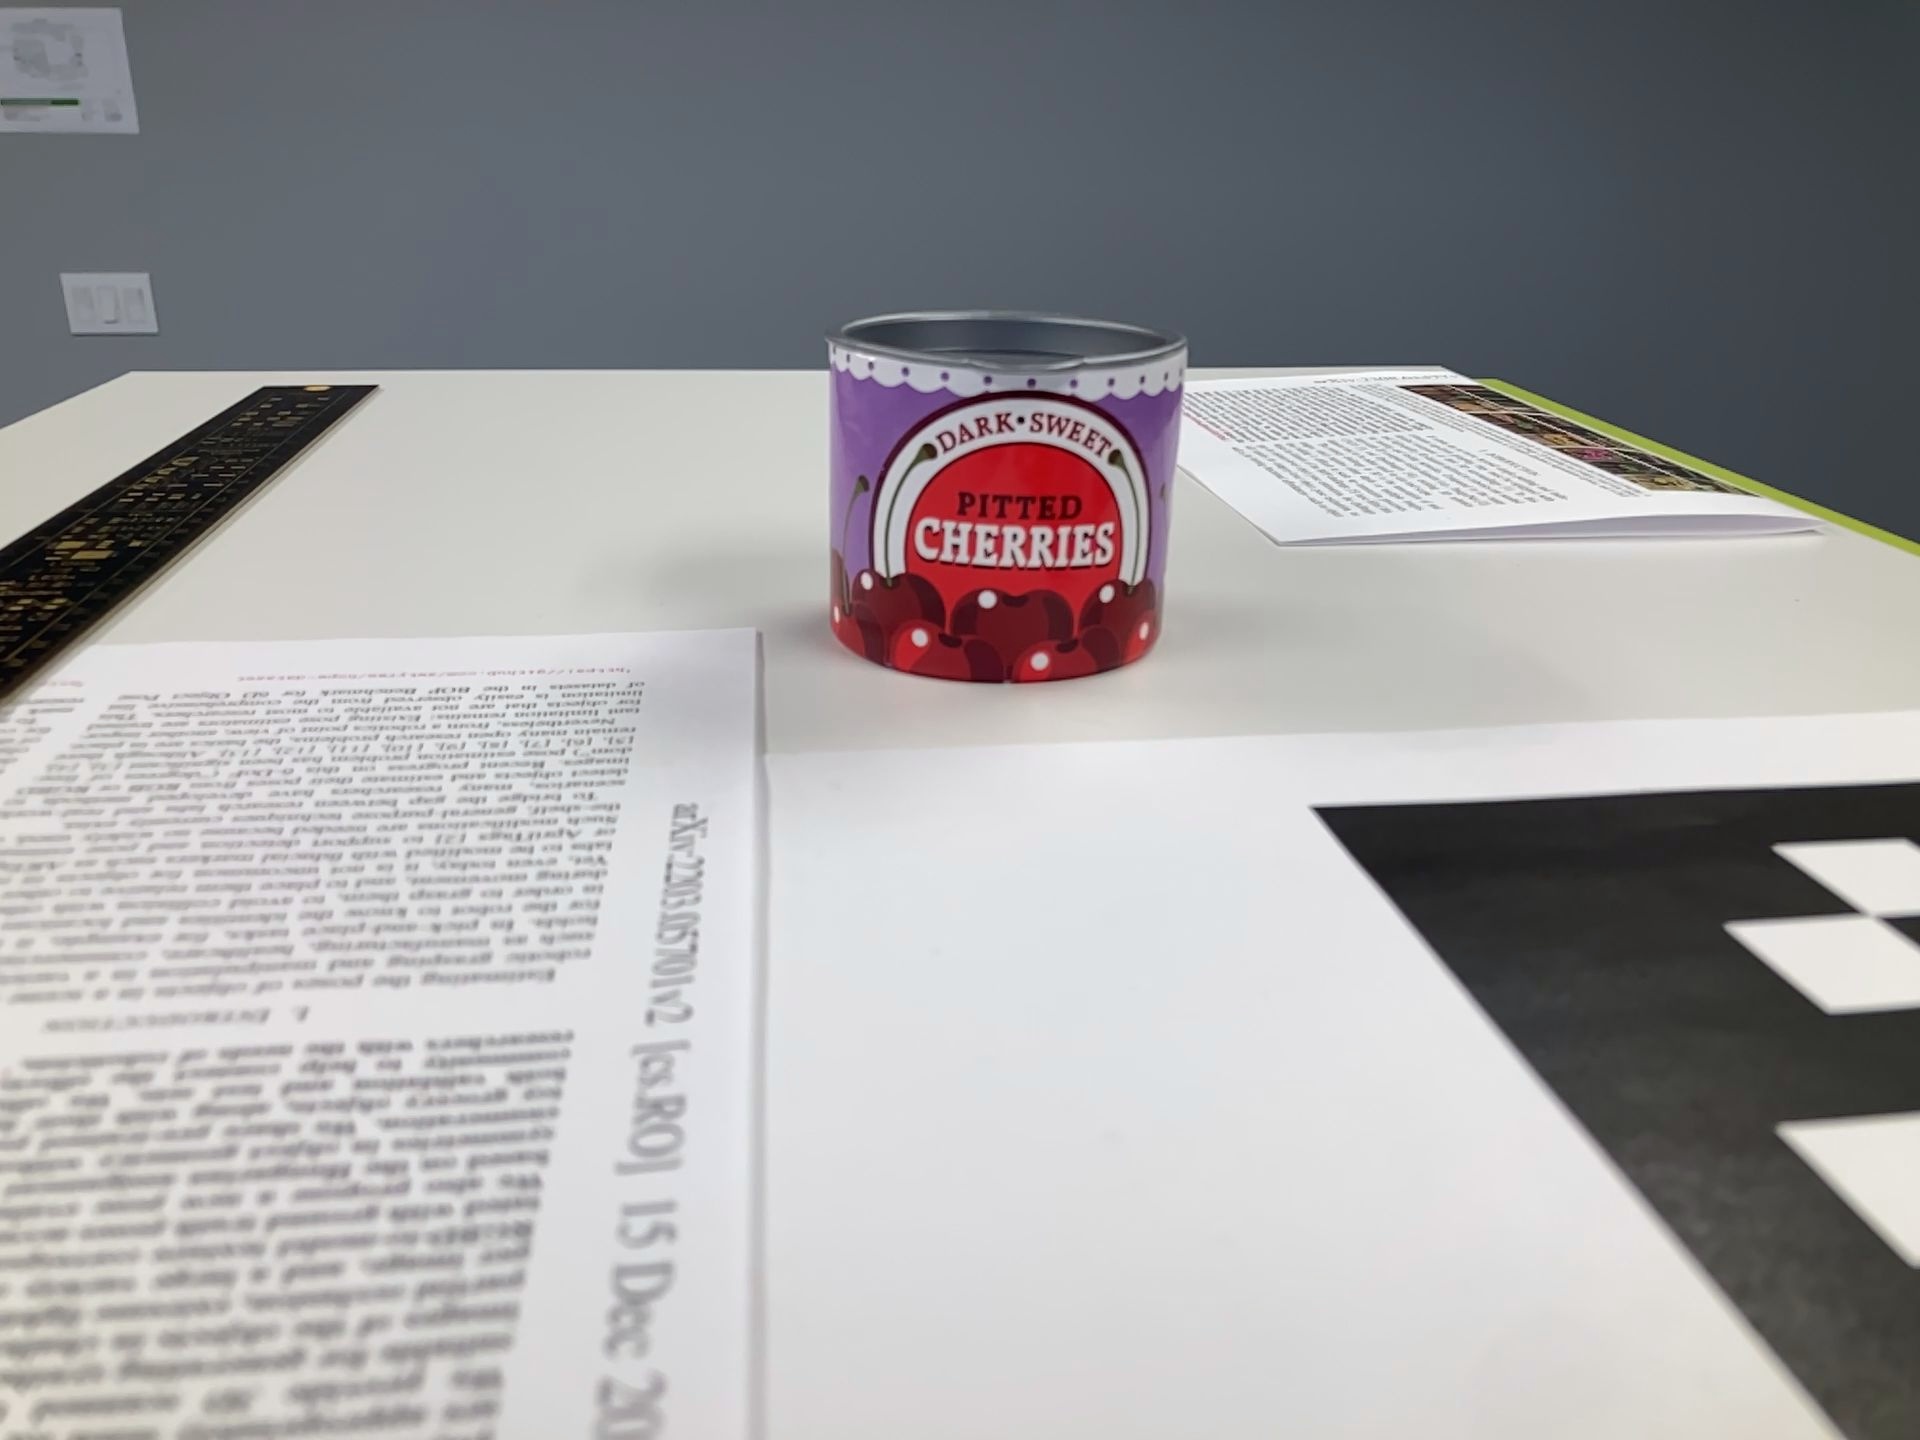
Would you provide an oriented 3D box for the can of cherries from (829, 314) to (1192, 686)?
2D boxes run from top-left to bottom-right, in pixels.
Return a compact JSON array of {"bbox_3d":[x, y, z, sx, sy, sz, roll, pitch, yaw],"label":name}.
[{"bbox_3d":[0.009,-0.043,0.297,0.071,0.058,0.071,1,21,-1],"label":"can of cherries"}]
